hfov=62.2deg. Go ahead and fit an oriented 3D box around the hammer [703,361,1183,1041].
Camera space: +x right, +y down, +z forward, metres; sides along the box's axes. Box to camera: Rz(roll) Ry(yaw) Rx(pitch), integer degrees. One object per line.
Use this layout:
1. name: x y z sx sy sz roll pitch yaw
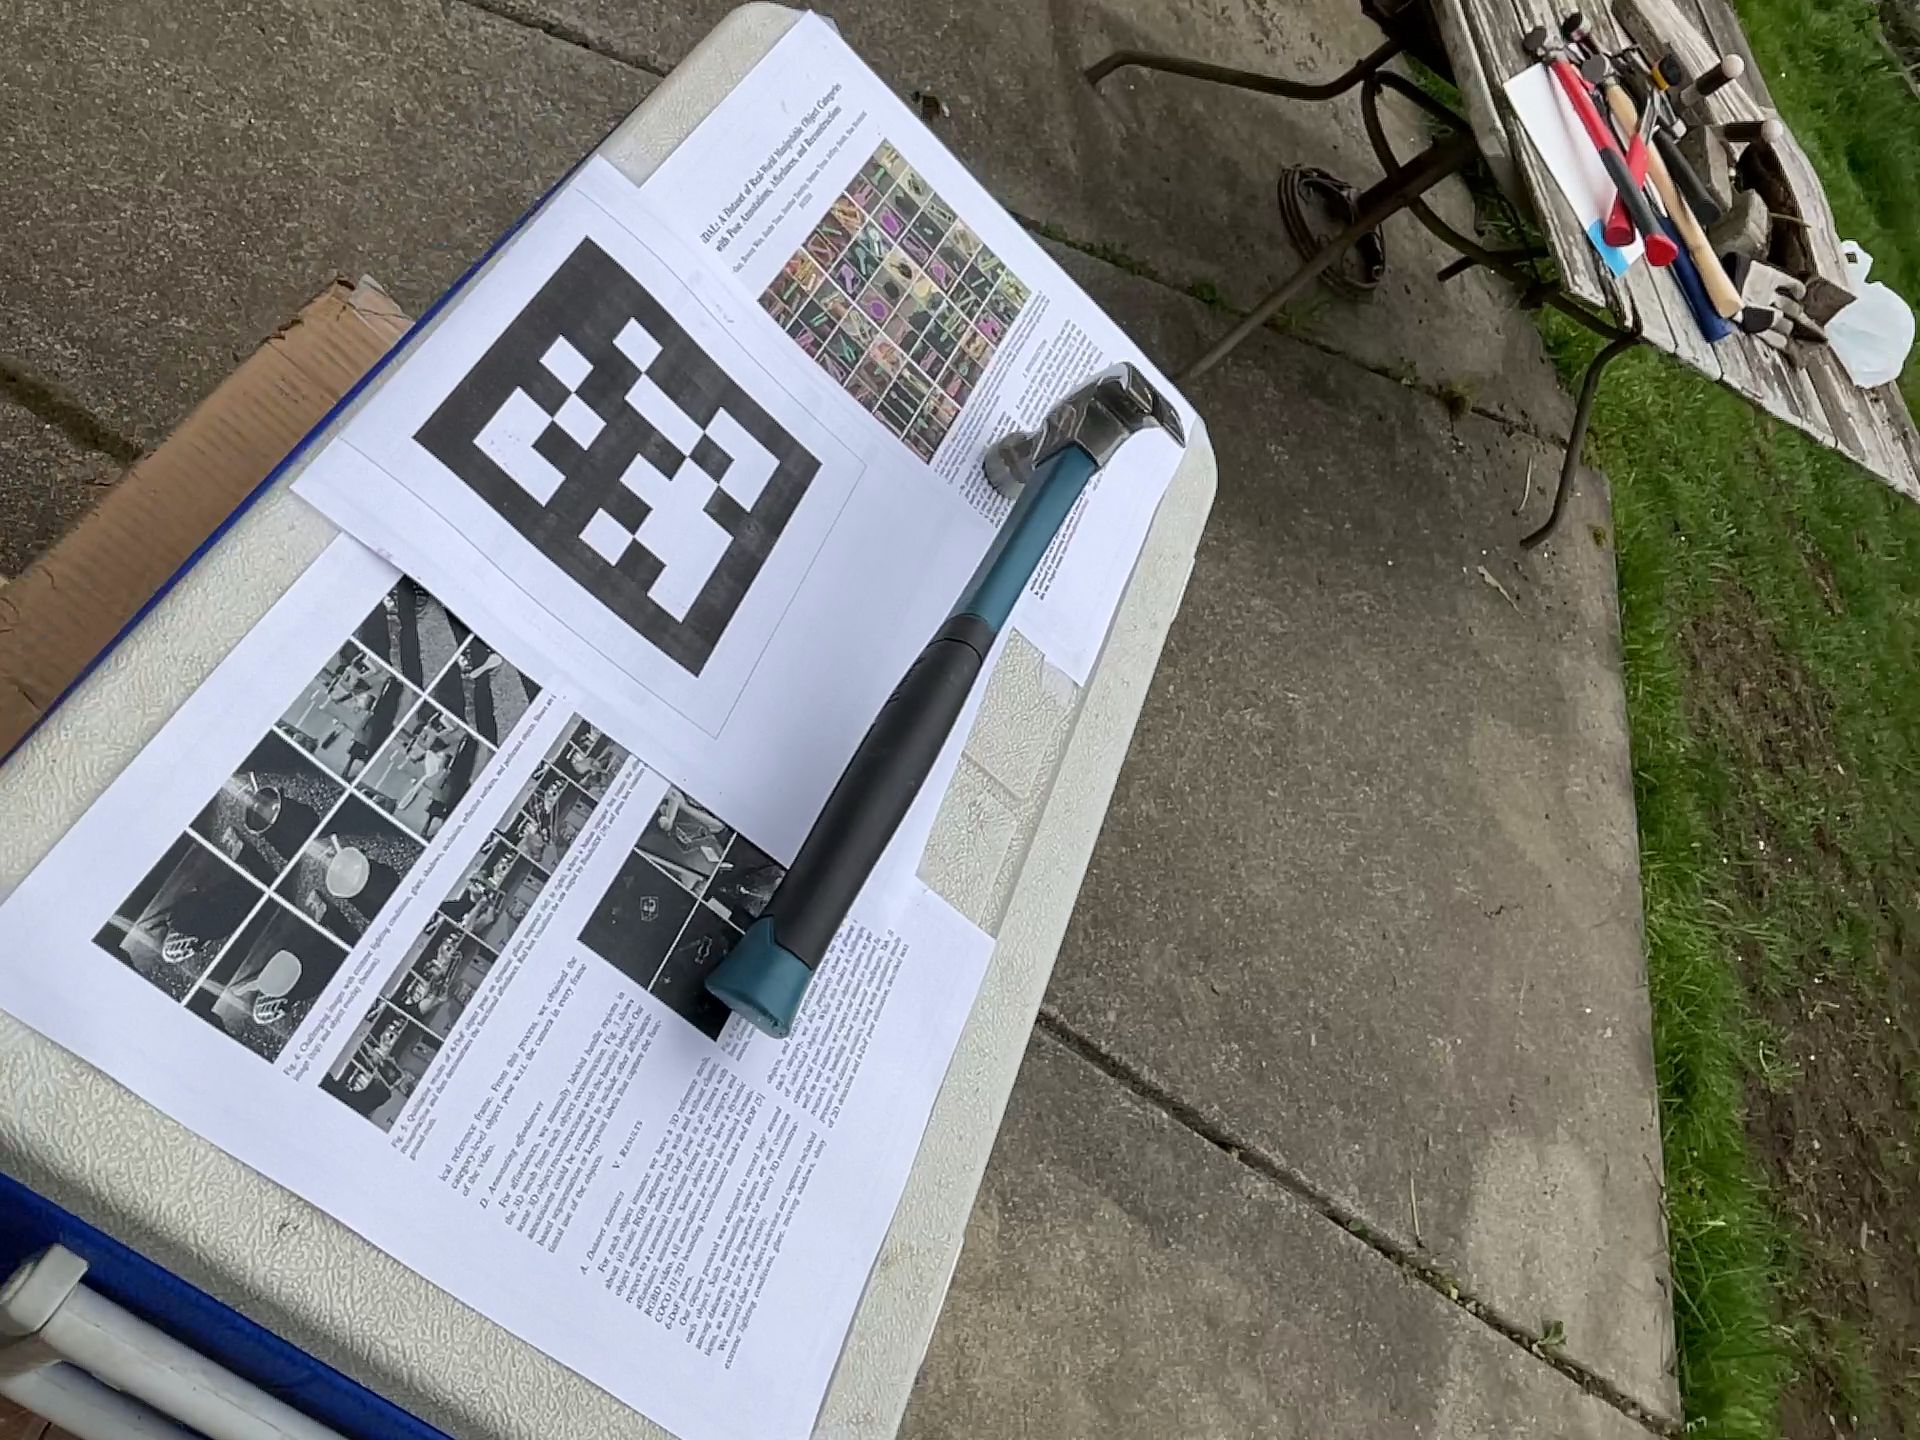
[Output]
1. hammer: -0.004 -0.022 0.605 0.033 0.128 0.331 41 55 -17
